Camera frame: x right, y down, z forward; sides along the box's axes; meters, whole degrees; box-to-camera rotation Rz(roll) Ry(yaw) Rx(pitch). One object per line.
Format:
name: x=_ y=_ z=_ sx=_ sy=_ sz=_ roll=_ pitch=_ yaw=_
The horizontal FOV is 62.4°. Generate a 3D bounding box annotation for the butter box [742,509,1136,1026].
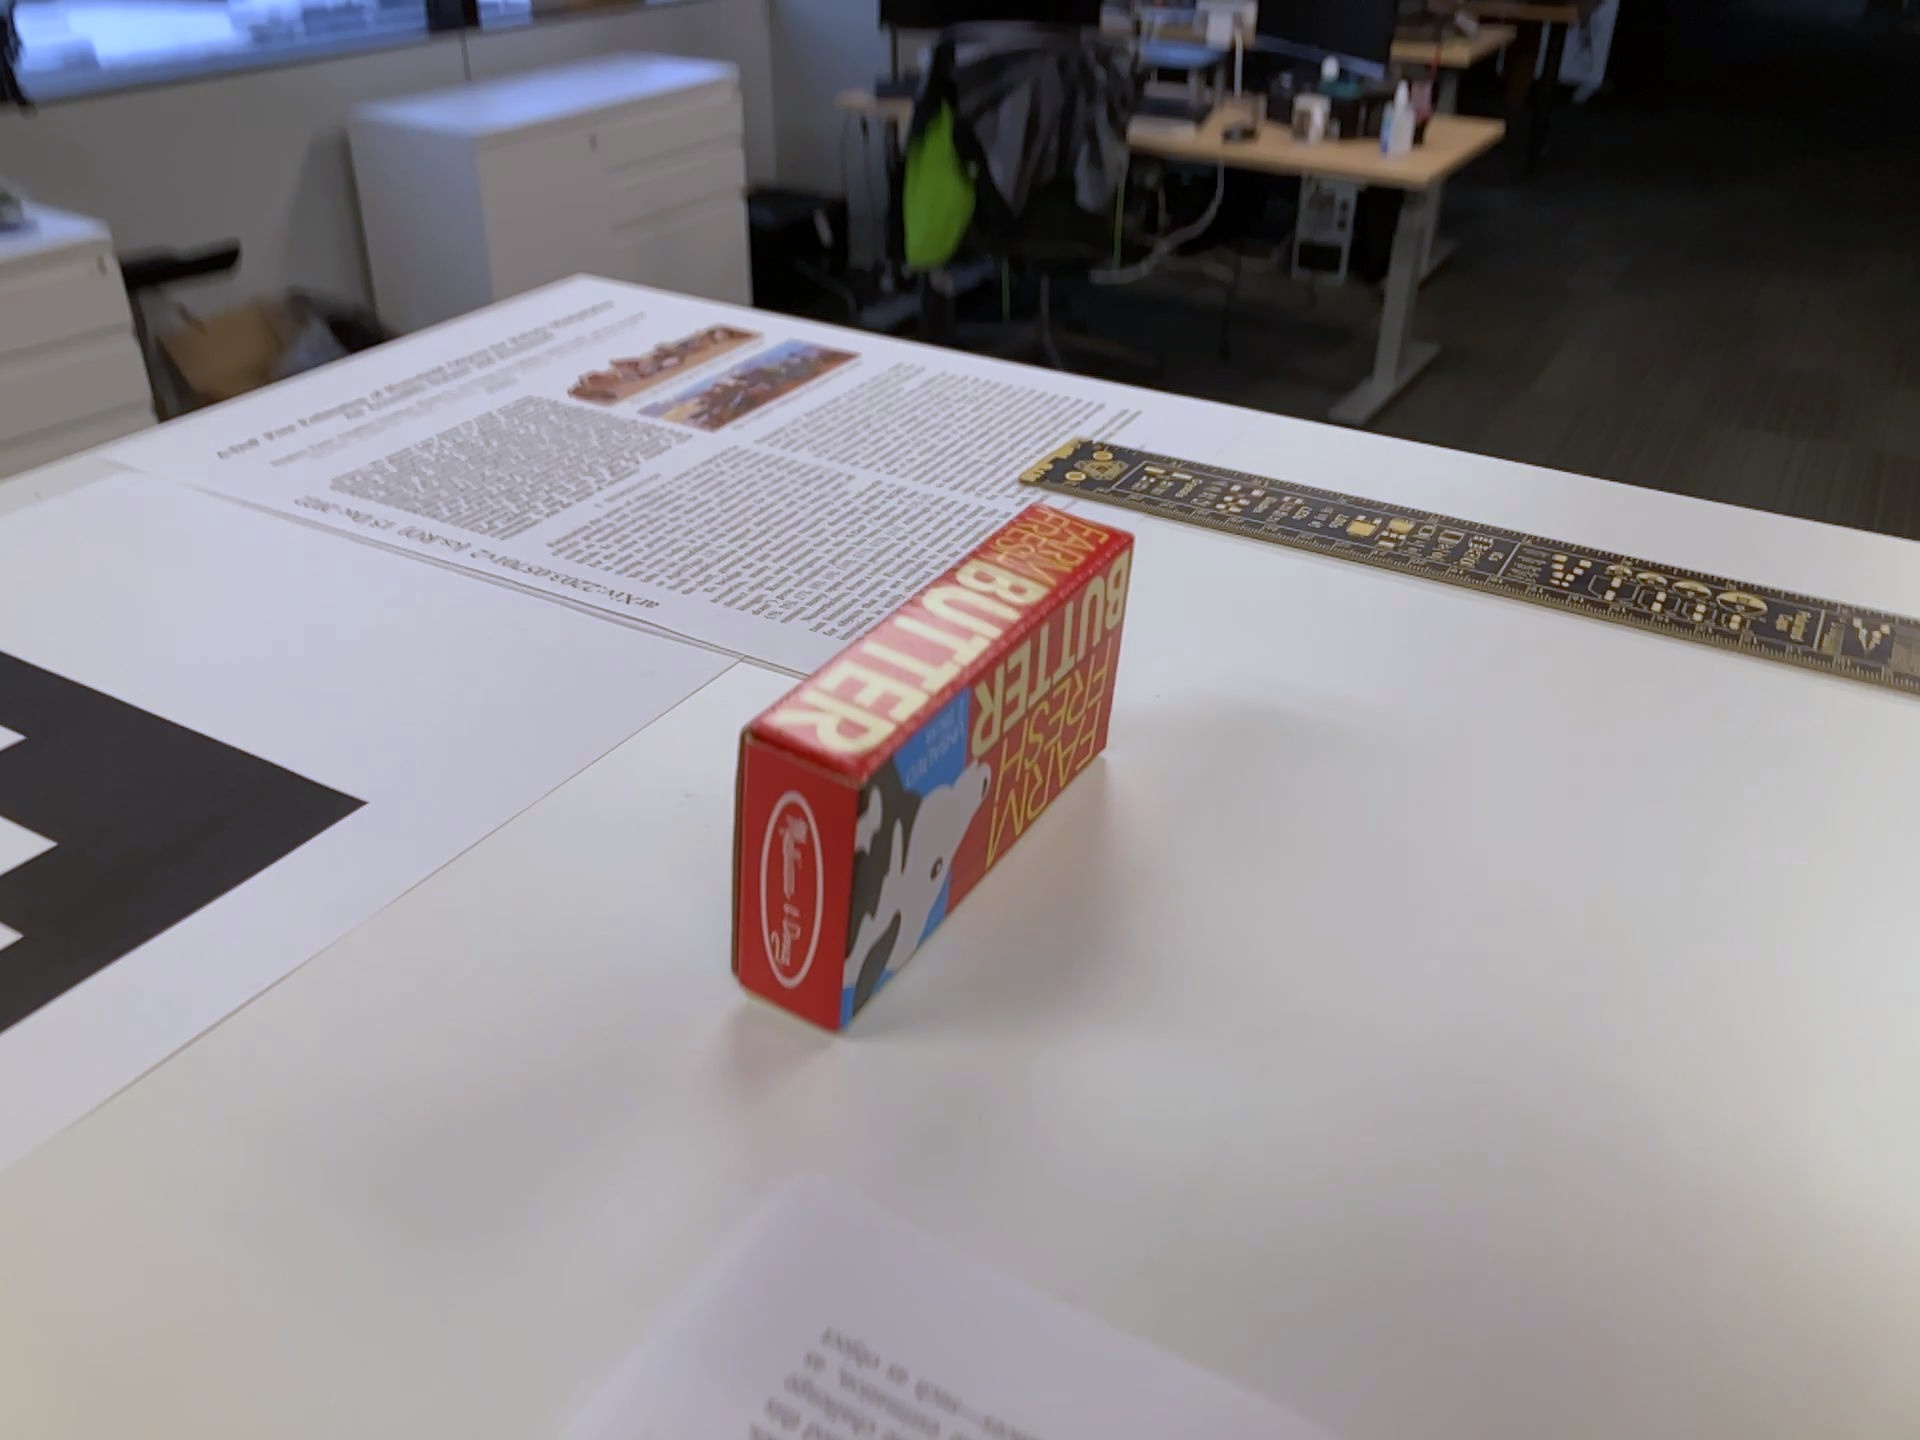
butter box: x=-0.002 y=0.004 z=0.293 sx=0.024 sy=0.053 sz=0.103 roll=21 pitch=37 yaw=21
